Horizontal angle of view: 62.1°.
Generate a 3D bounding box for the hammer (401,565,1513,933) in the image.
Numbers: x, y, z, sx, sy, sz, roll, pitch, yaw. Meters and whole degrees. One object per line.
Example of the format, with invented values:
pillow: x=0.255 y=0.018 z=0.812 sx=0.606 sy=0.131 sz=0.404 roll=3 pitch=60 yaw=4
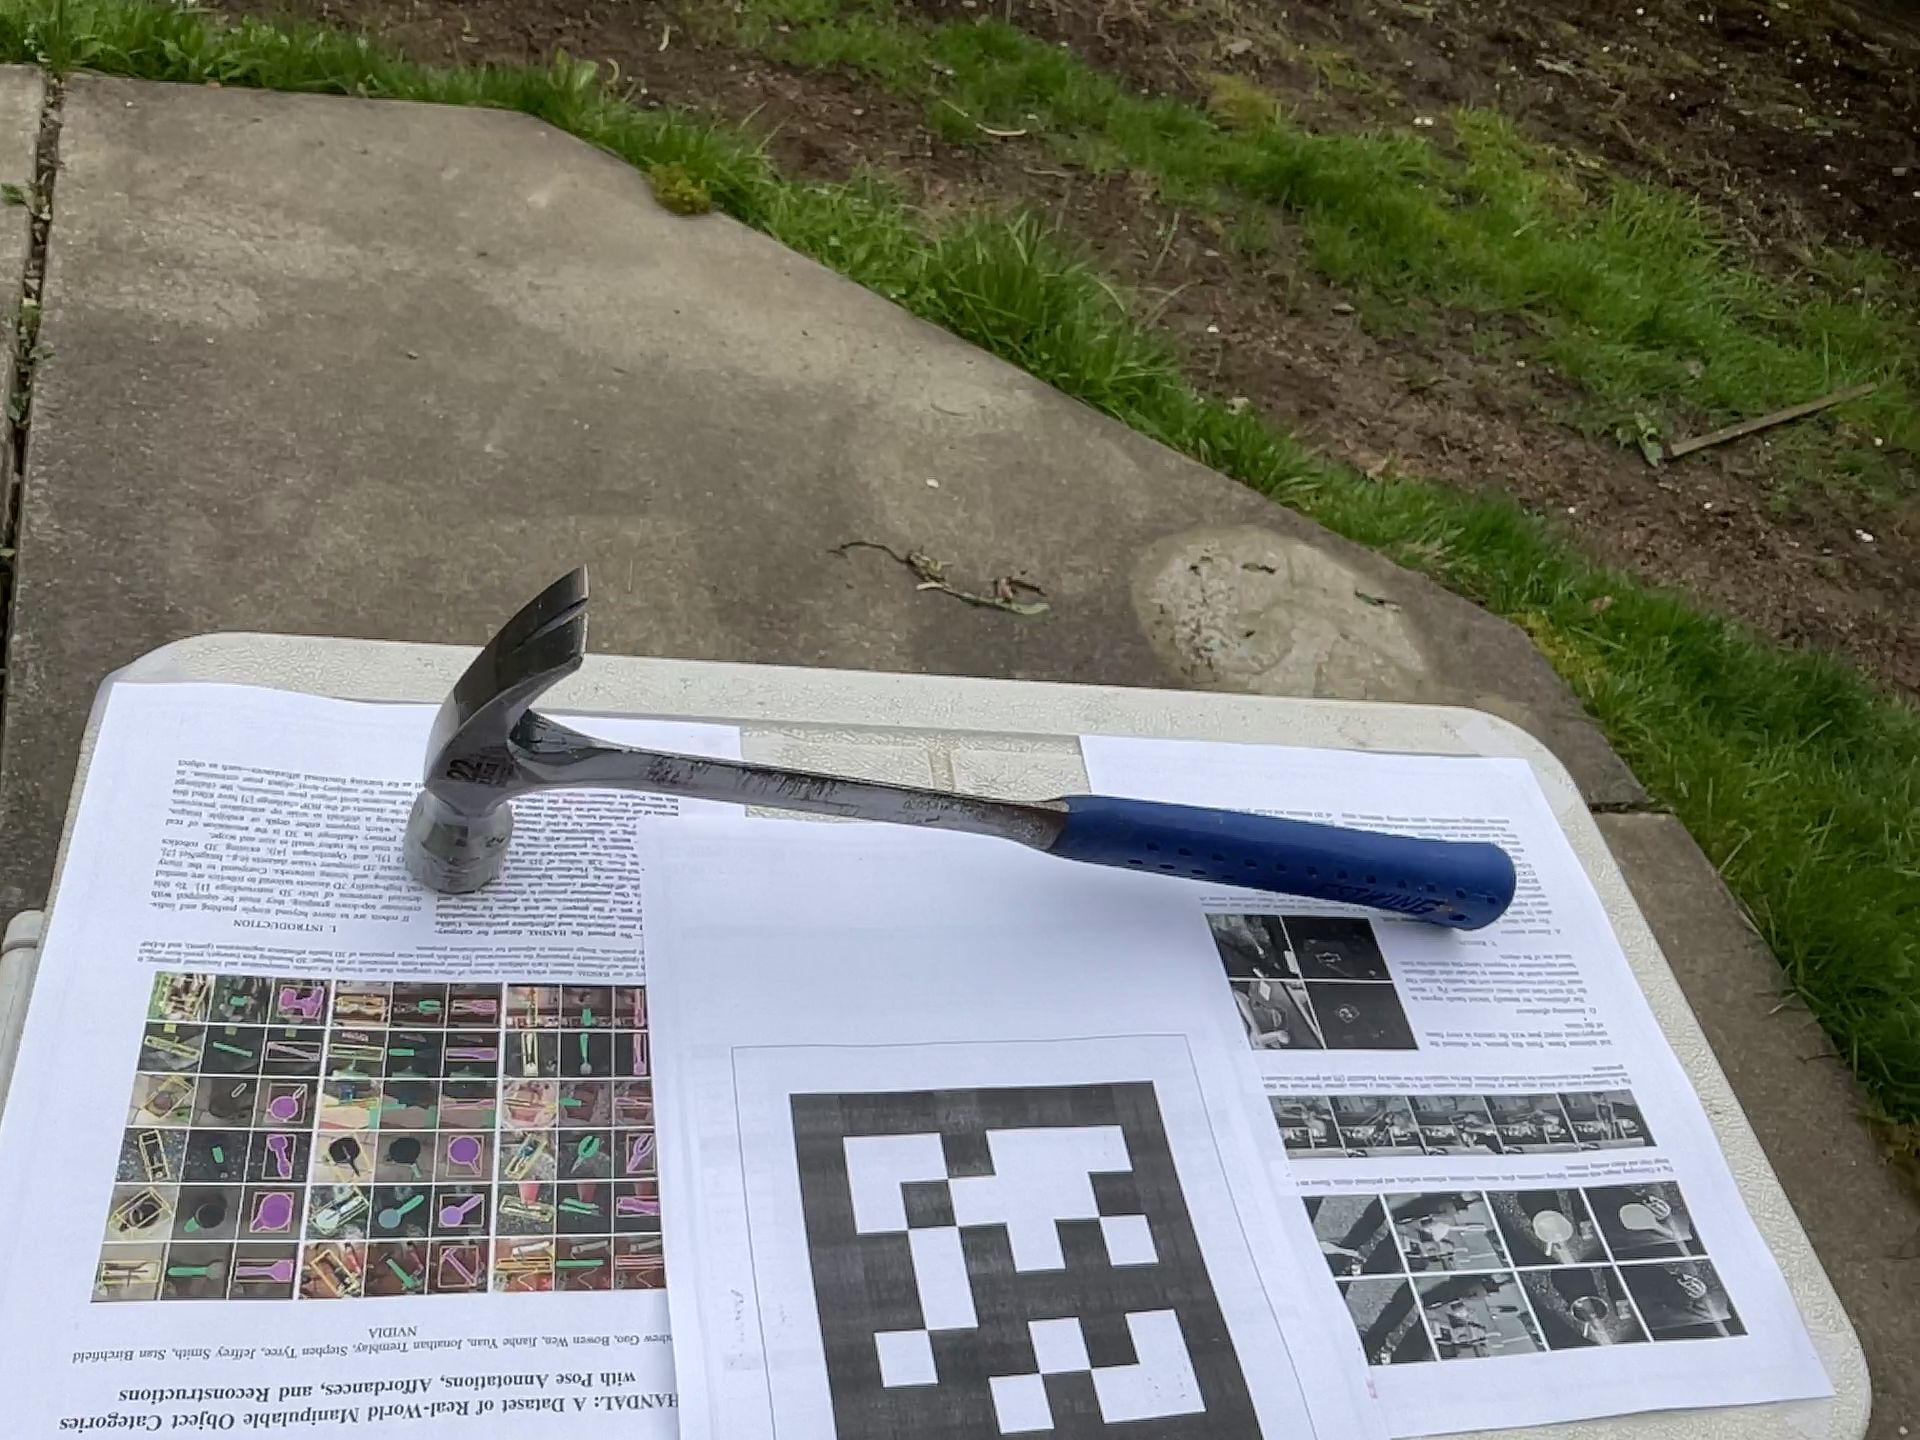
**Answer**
hammer: x=0.024 y=0.034 z=0.559 sx=0.405 sy=0.144 sz=0.035 roll=9 pitch=53 yaw=-22
